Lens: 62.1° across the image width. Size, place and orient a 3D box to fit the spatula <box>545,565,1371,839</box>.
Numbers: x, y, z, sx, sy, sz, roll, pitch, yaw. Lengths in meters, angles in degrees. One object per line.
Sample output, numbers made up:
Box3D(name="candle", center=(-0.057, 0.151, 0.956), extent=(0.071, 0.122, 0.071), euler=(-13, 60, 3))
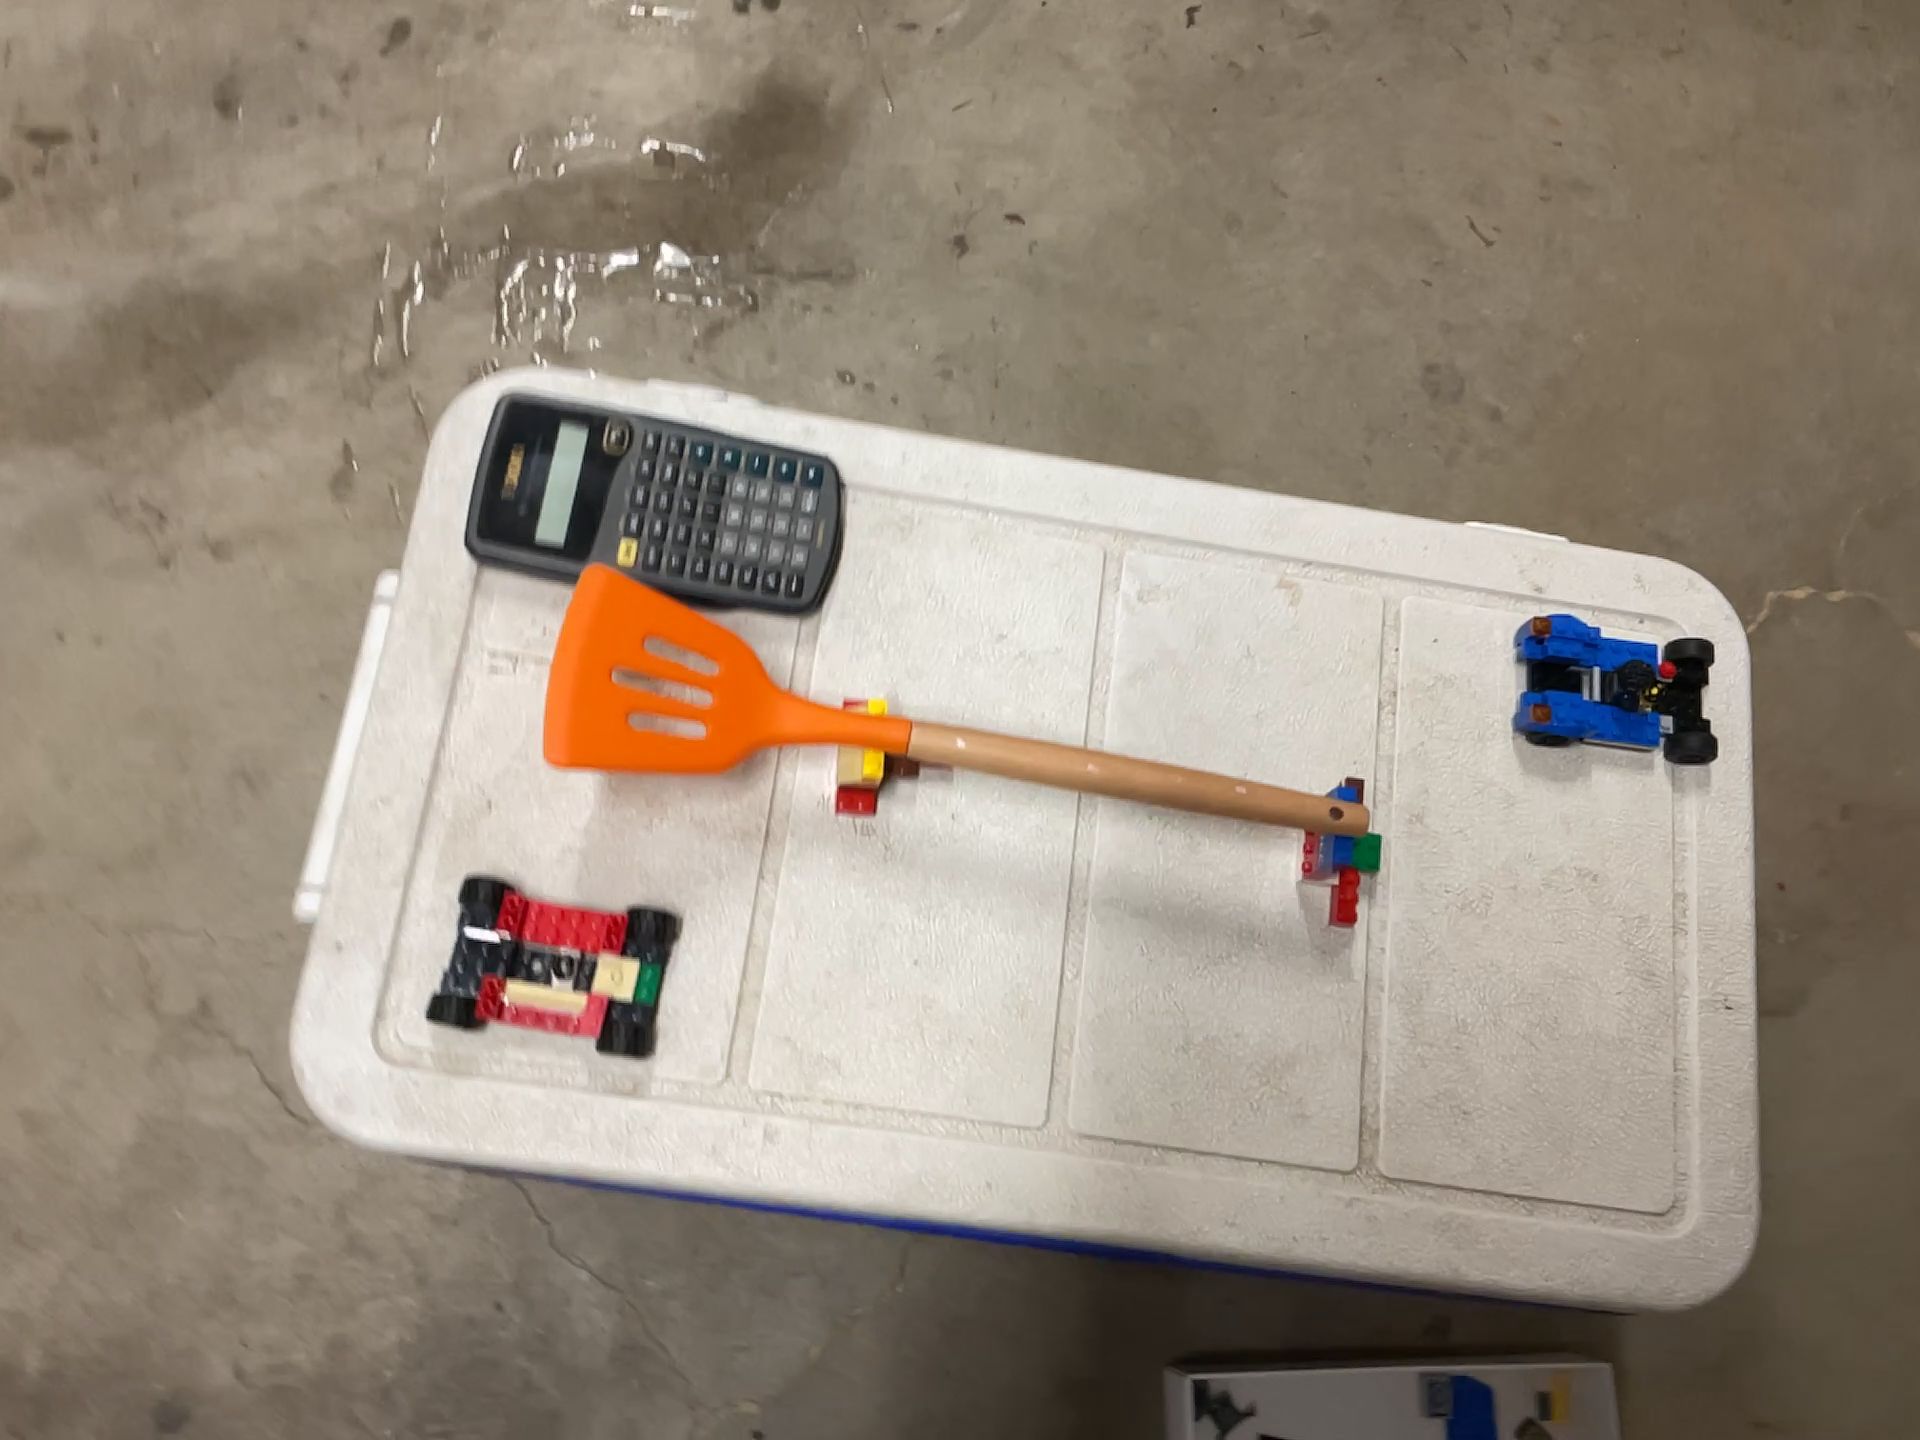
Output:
Box3D(name="spatula", center=(0.006, 0.010, 0.623), extent=(0.322, 0.041, 0.081), euler=(10, 76, -3))
